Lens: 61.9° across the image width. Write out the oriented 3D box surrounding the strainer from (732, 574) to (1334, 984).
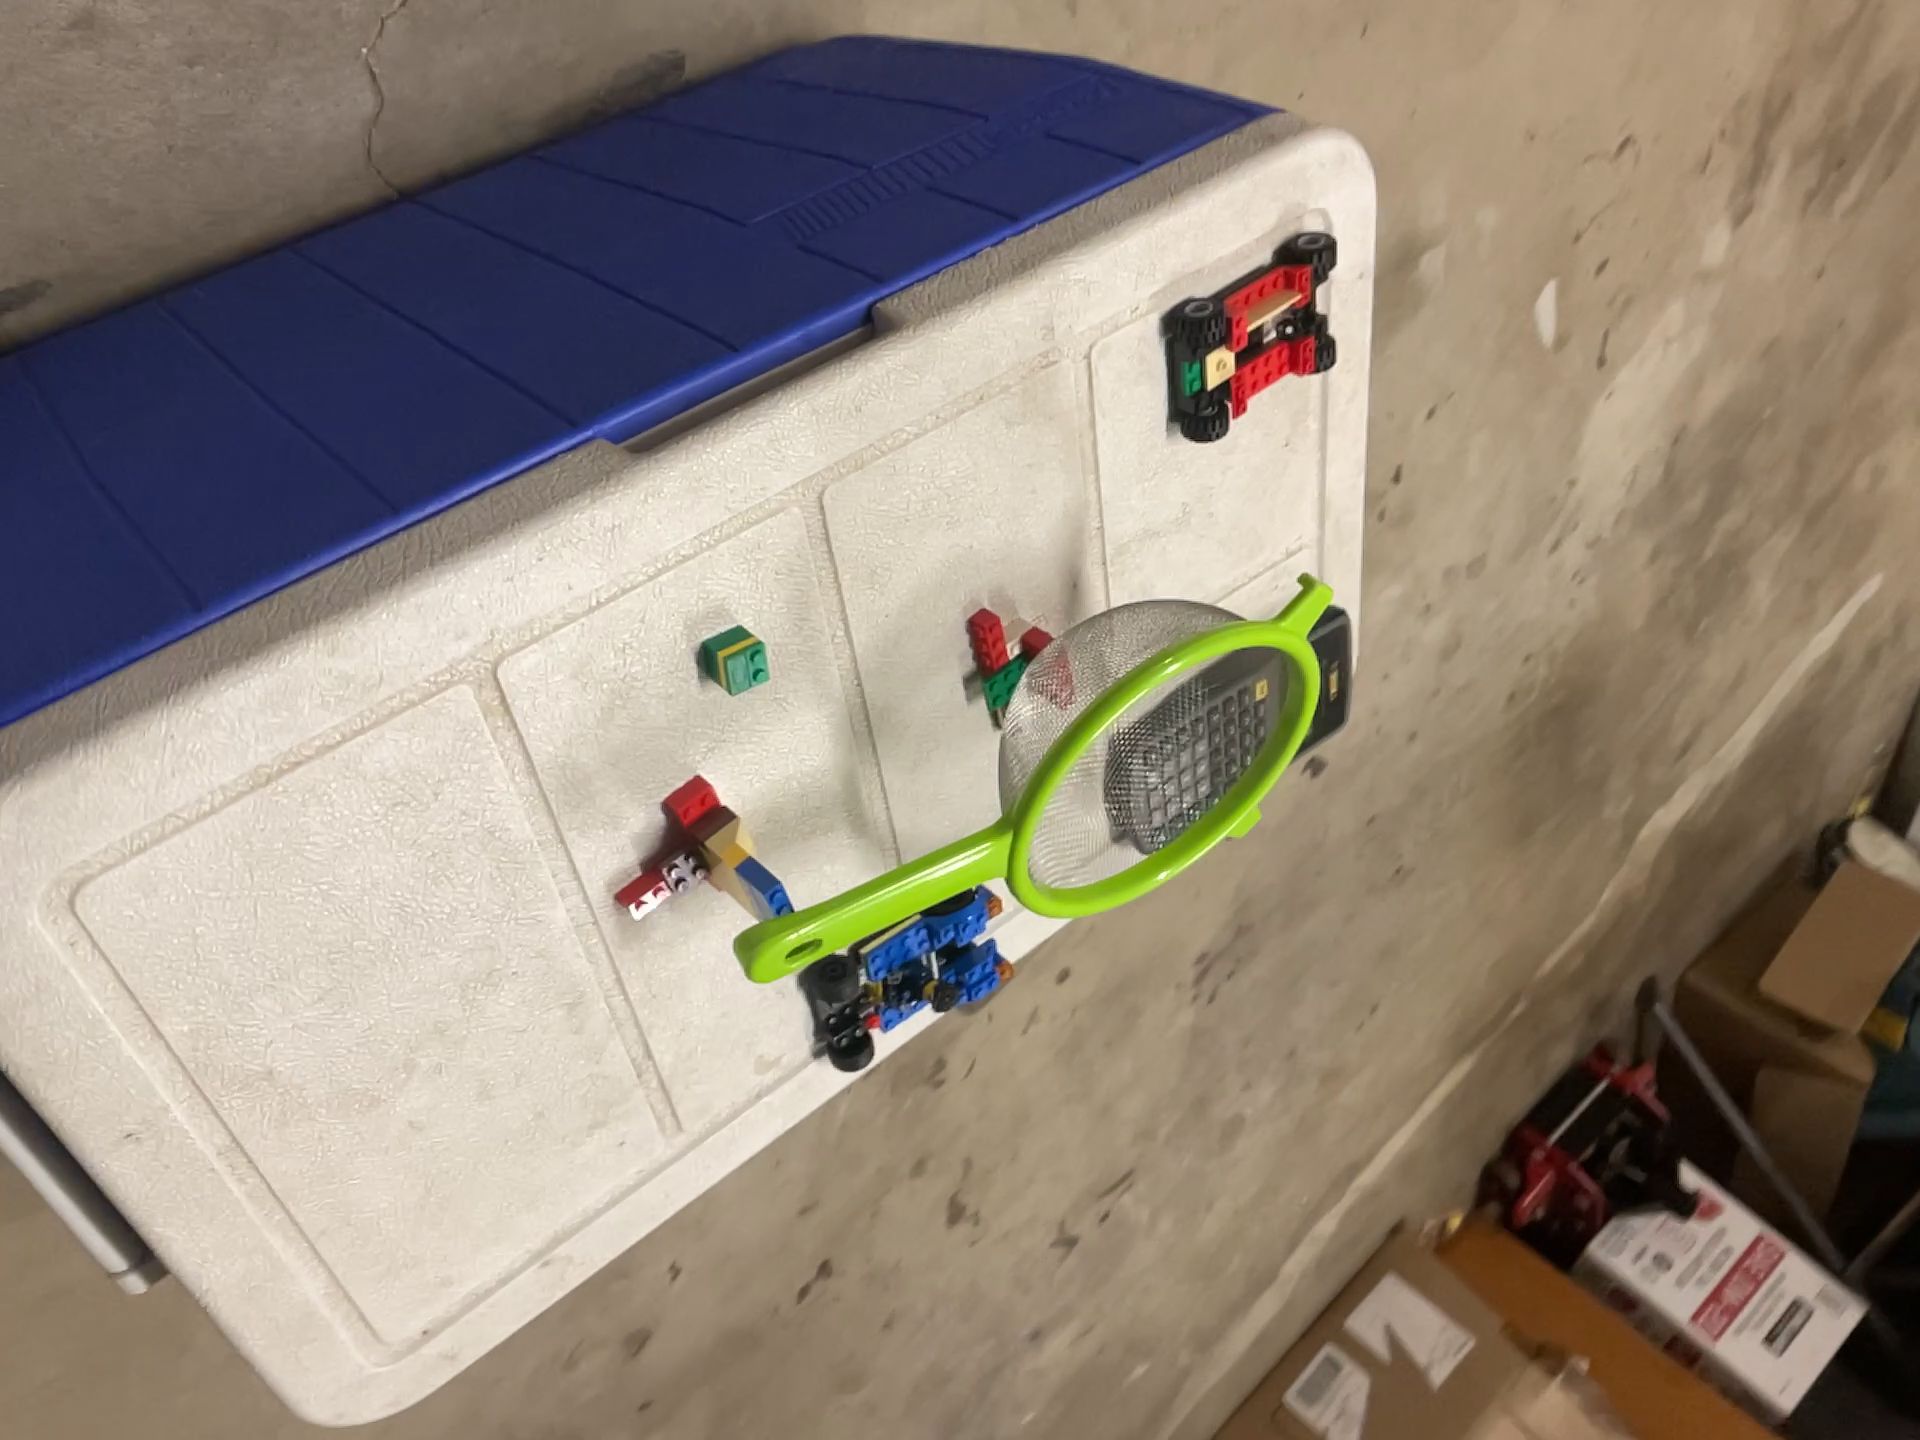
[{"bbox_3d":[0.020,0.024,0.618,0.256,0.069,0.151,-23,144,-23],"label":"strainer"}]
